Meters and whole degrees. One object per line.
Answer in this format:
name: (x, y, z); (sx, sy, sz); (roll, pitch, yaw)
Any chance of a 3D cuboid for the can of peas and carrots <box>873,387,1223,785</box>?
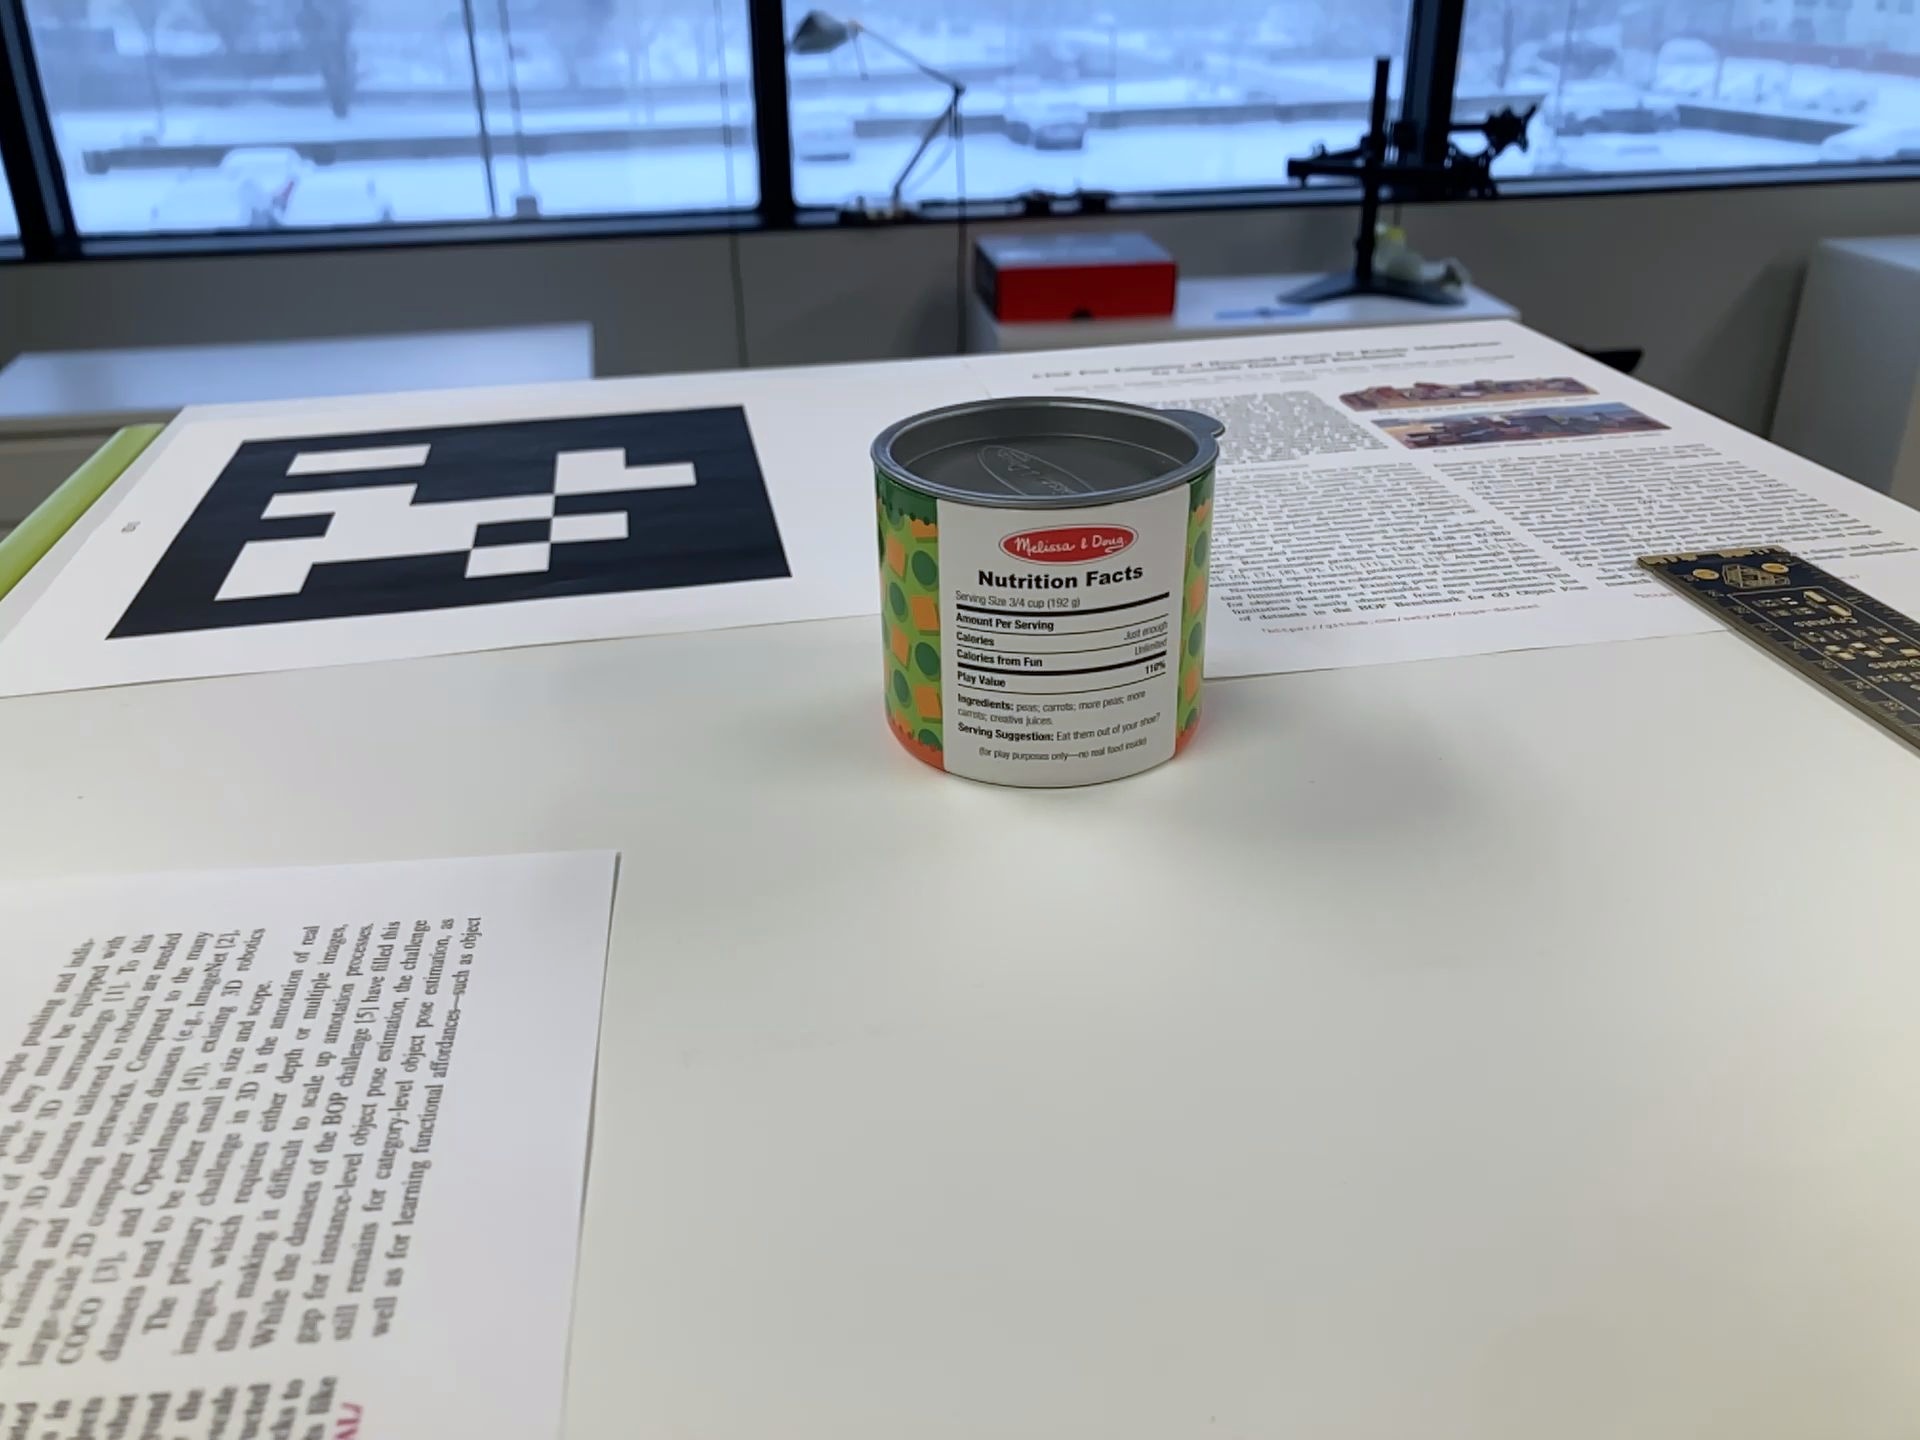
can of peas and carrots: (0.017, -0.029, 0.316); (0.071, 0.059, 0.071); (-1, 27, 1)
